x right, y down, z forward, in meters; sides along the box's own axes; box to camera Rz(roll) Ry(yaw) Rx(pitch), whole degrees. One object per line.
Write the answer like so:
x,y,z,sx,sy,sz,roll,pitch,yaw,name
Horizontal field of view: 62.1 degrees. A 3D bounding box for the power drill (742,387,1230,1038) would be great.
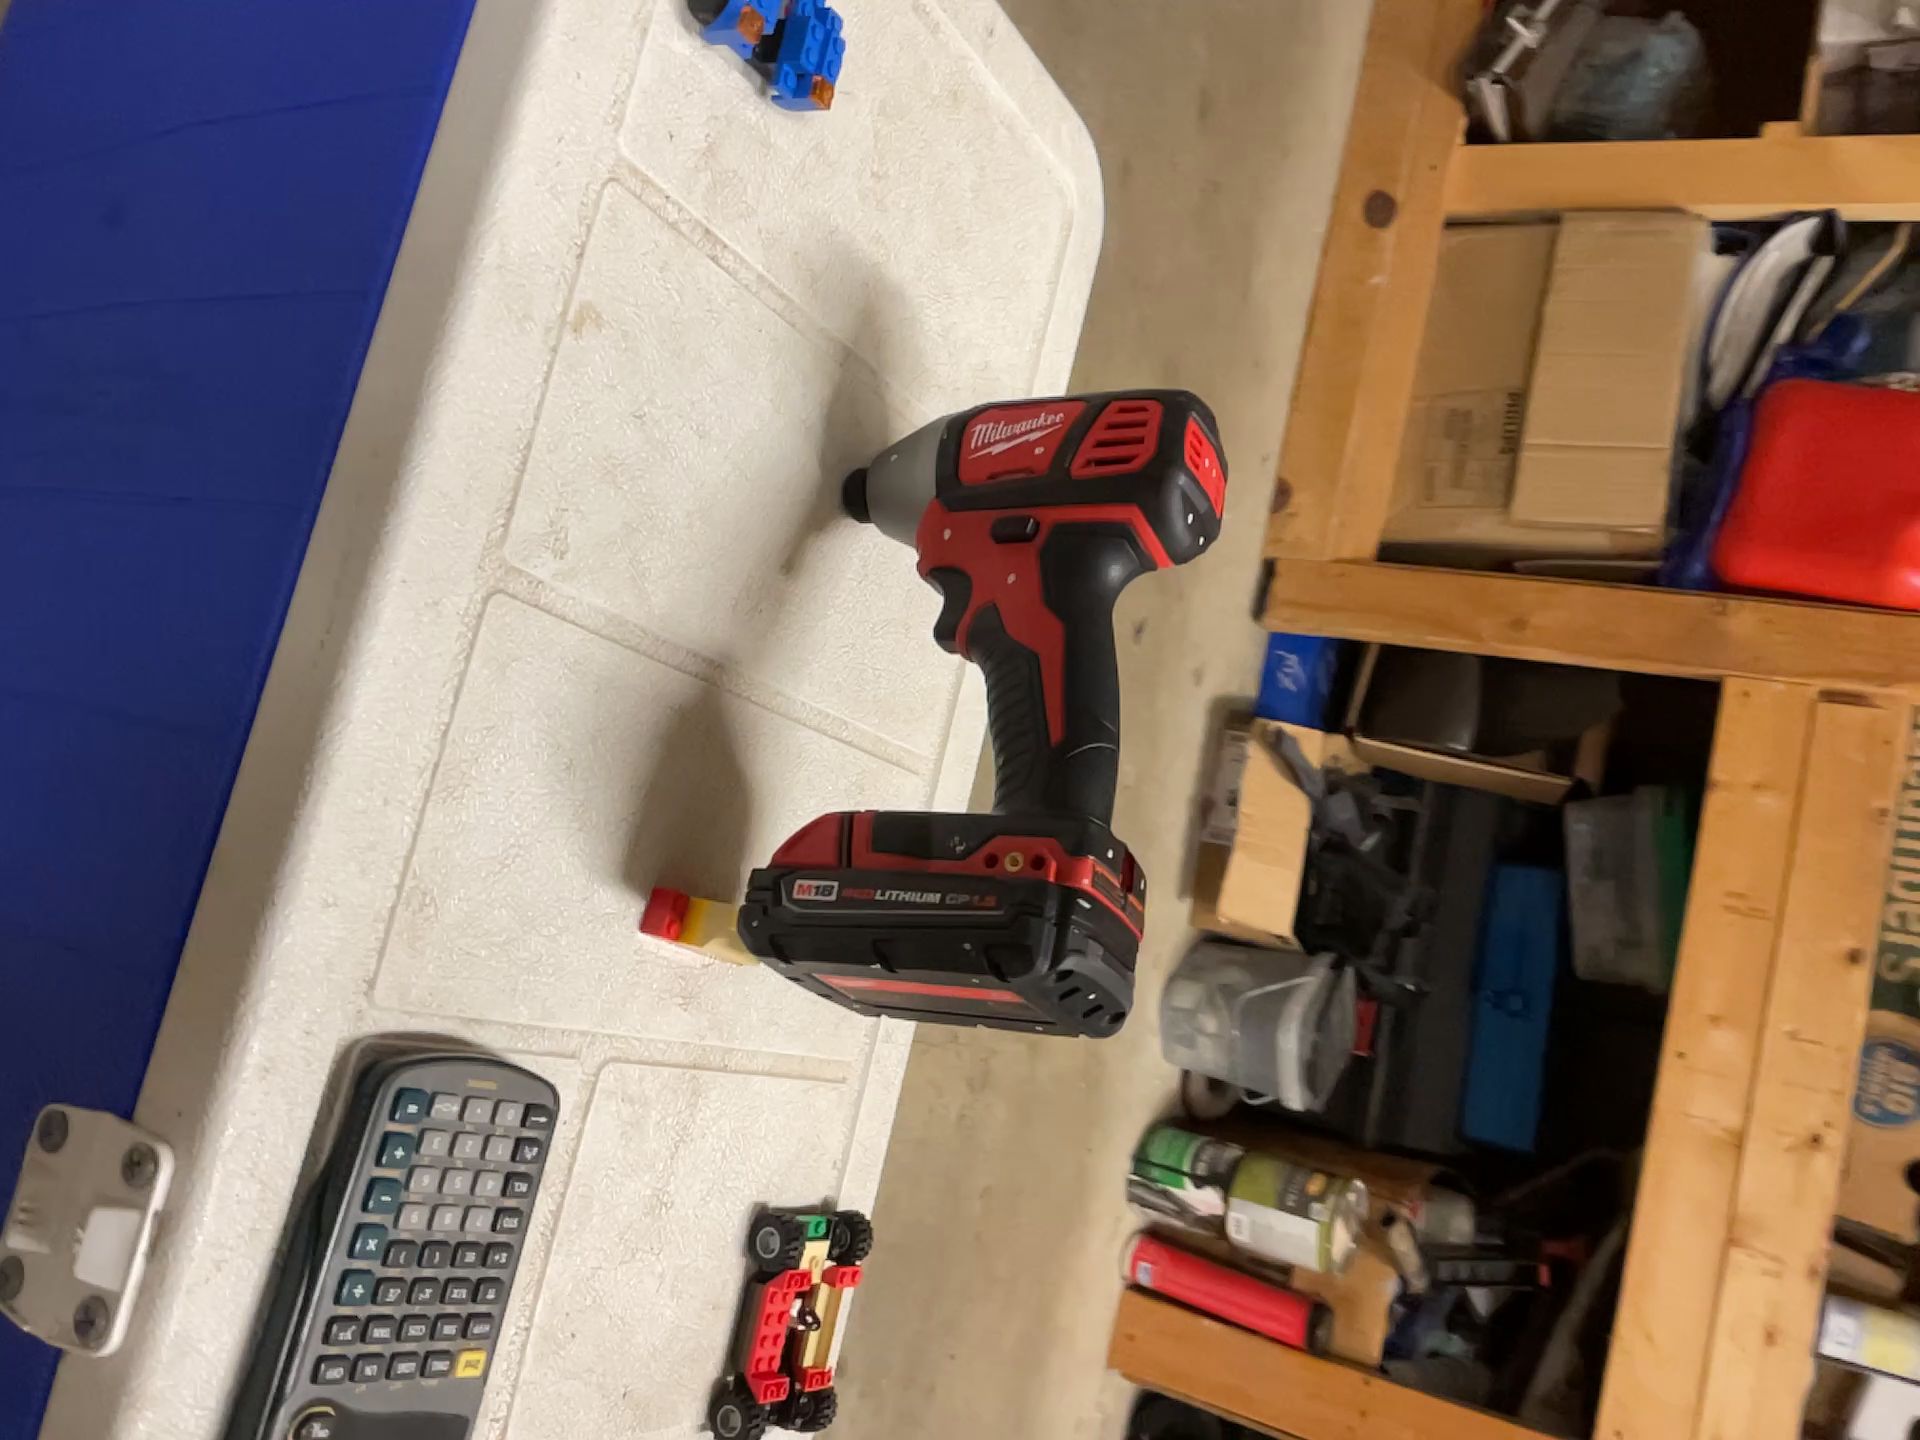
0.007,-0.012,0.546,0.078,0.143,0.220,46,51,-55,power drill
